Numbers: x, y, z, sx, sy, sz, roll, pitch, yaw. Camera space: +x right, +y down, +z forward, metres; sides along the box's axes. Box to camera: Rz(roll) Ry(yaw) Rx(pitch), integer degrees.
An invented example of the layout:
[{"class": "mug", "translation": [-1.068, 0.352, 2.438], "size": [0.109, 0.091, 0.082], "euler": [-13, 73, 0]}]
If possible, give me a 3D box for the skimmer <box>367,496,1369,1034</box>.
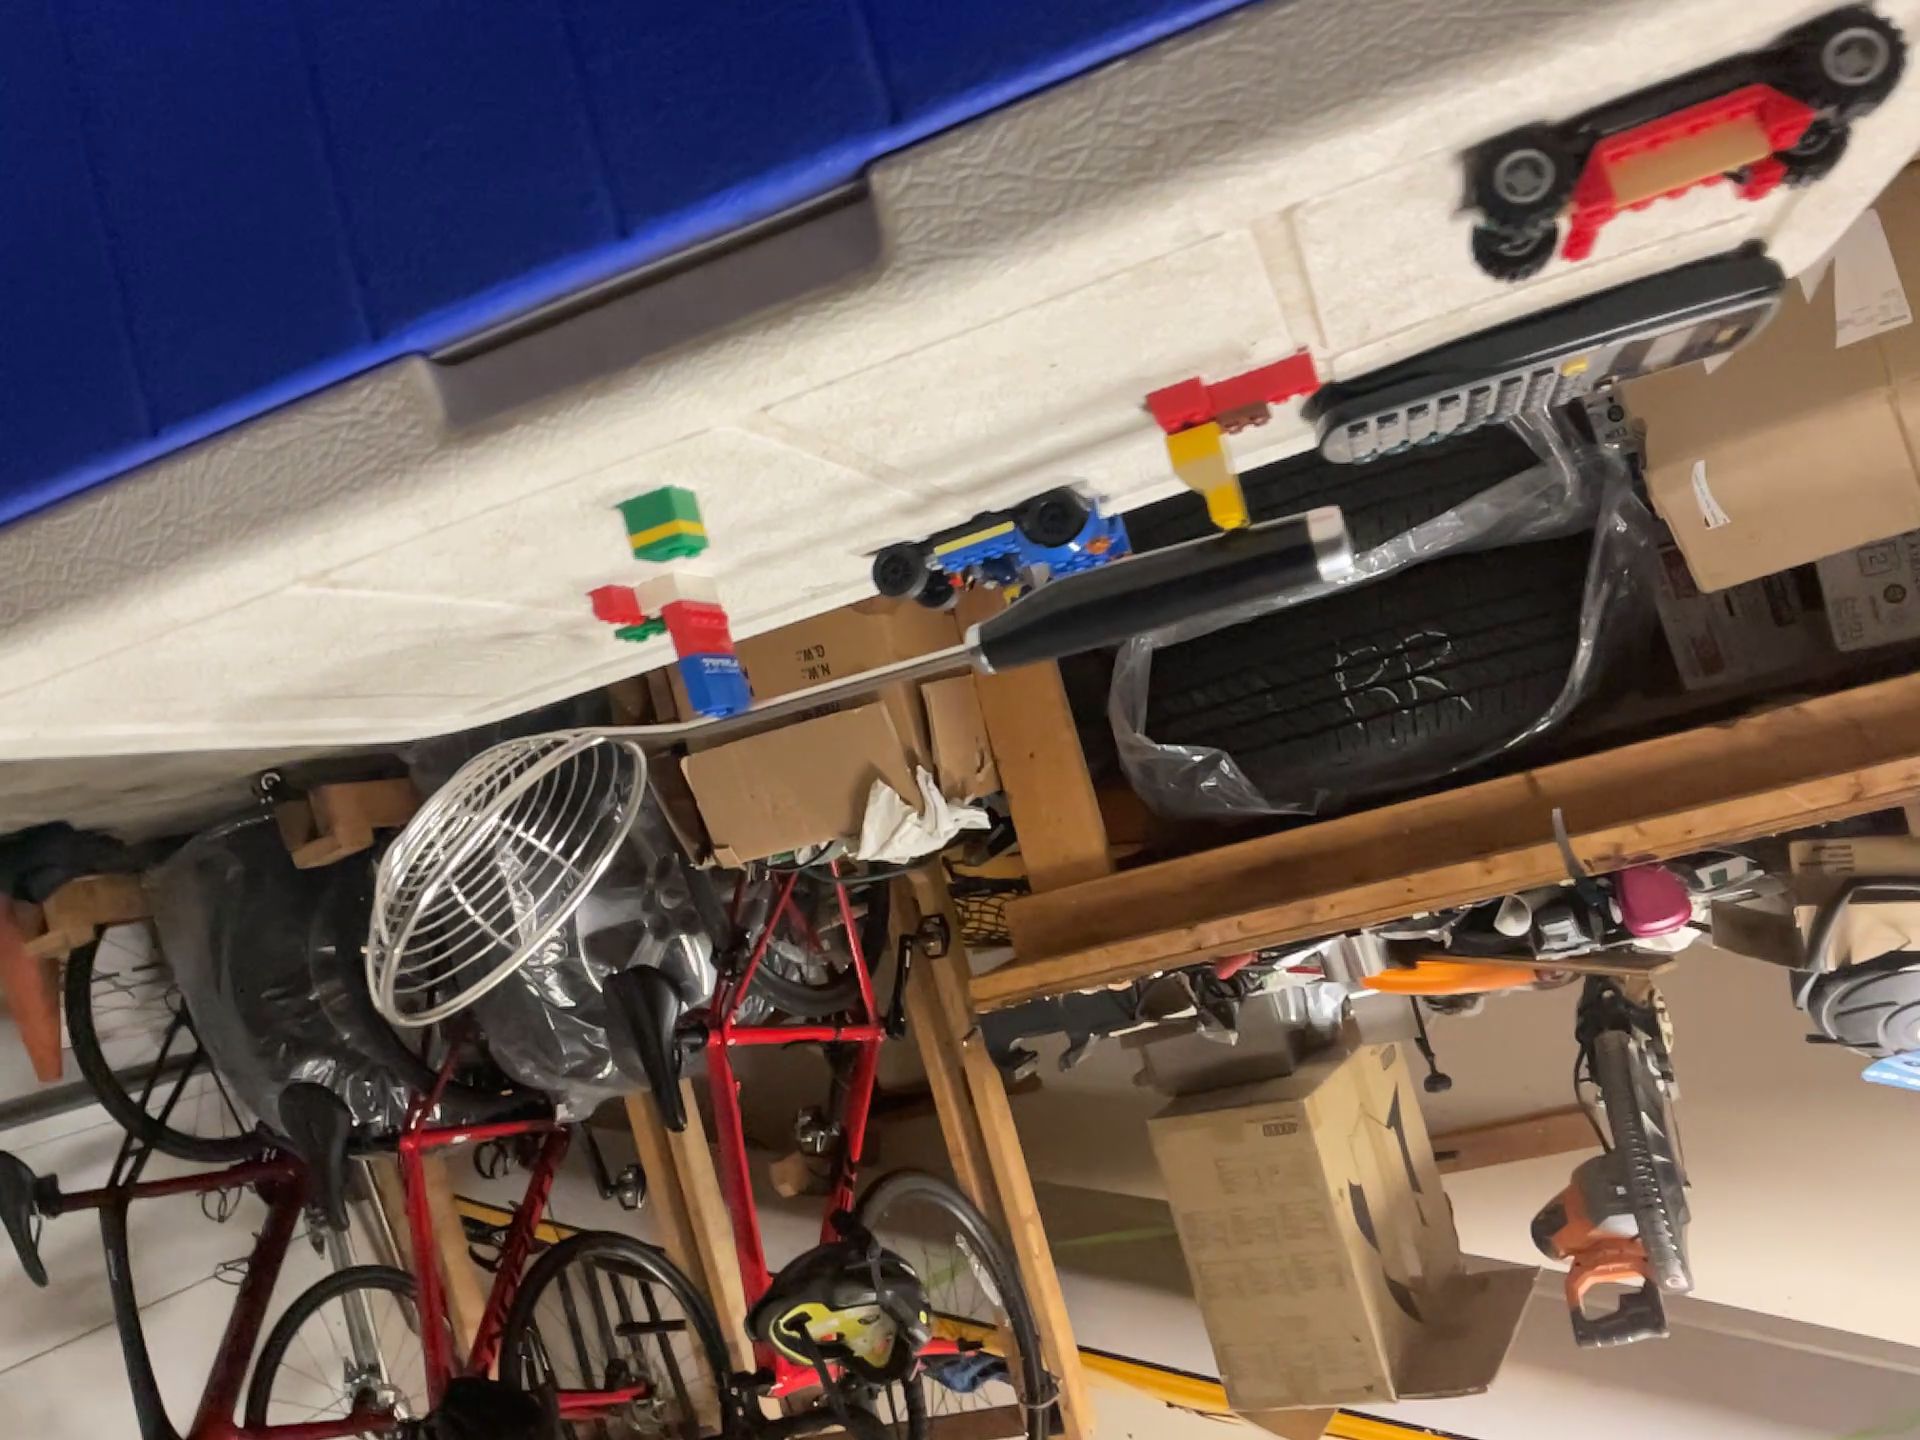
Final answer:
[{"class": "skimmer", "translation": [-0.038, 0.020, 0.530], "size": [0.363, 0.090, 0.127], "euler": [-16, 178, 17]}]
